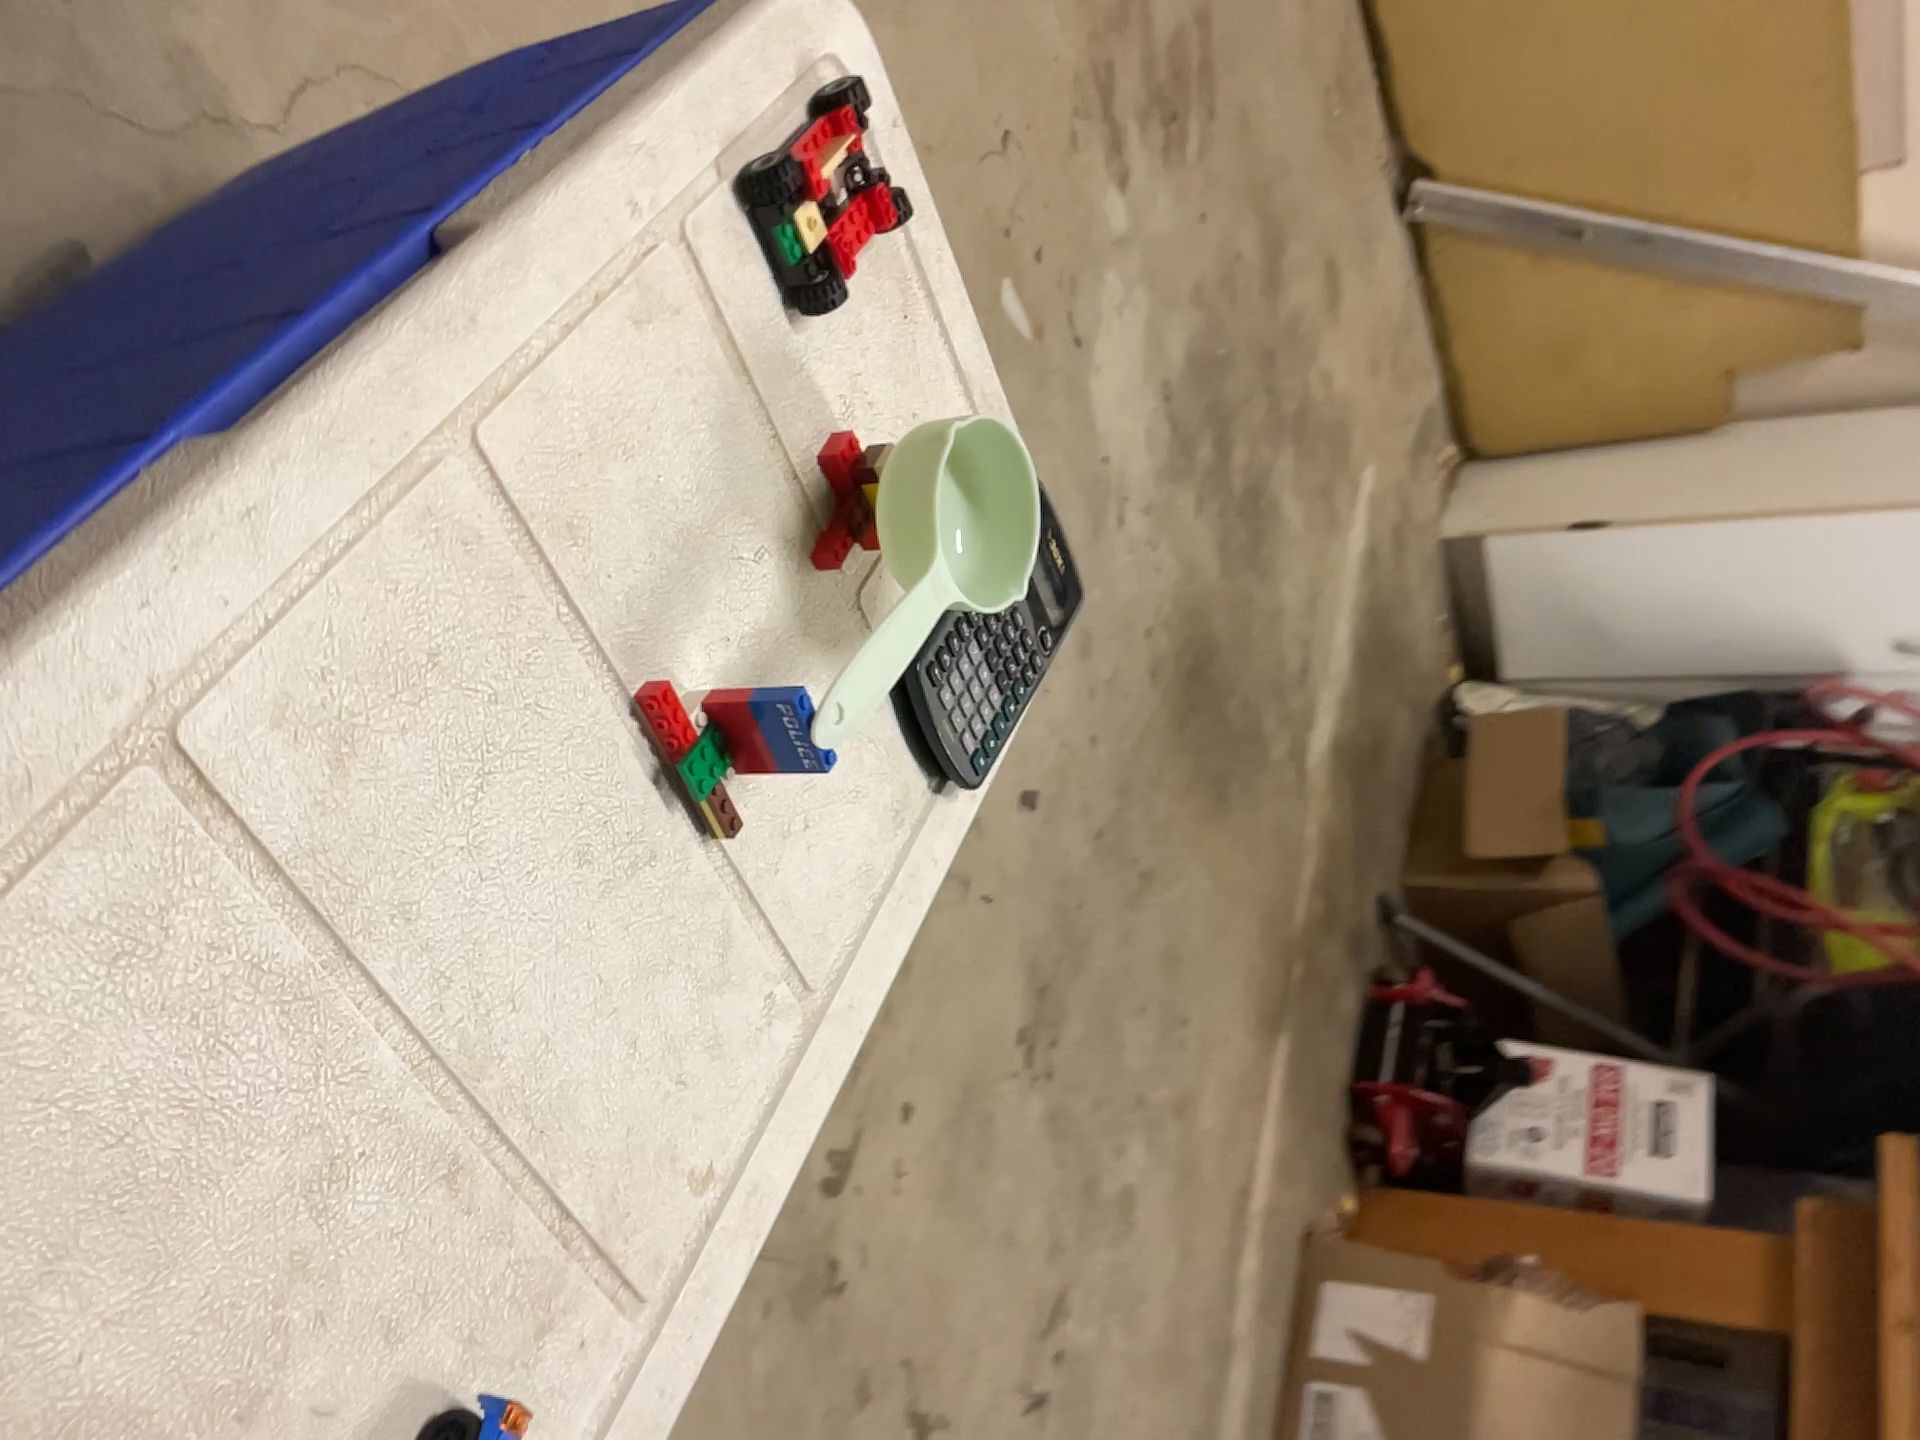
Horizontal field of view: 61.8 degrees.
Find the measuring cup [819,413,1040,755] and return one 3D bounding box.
[{"bbox_3d":[-0.022,-0.049,0.596,0.168,0.038,0.083,-58,138,-36],"label":"measuring cup"}]
